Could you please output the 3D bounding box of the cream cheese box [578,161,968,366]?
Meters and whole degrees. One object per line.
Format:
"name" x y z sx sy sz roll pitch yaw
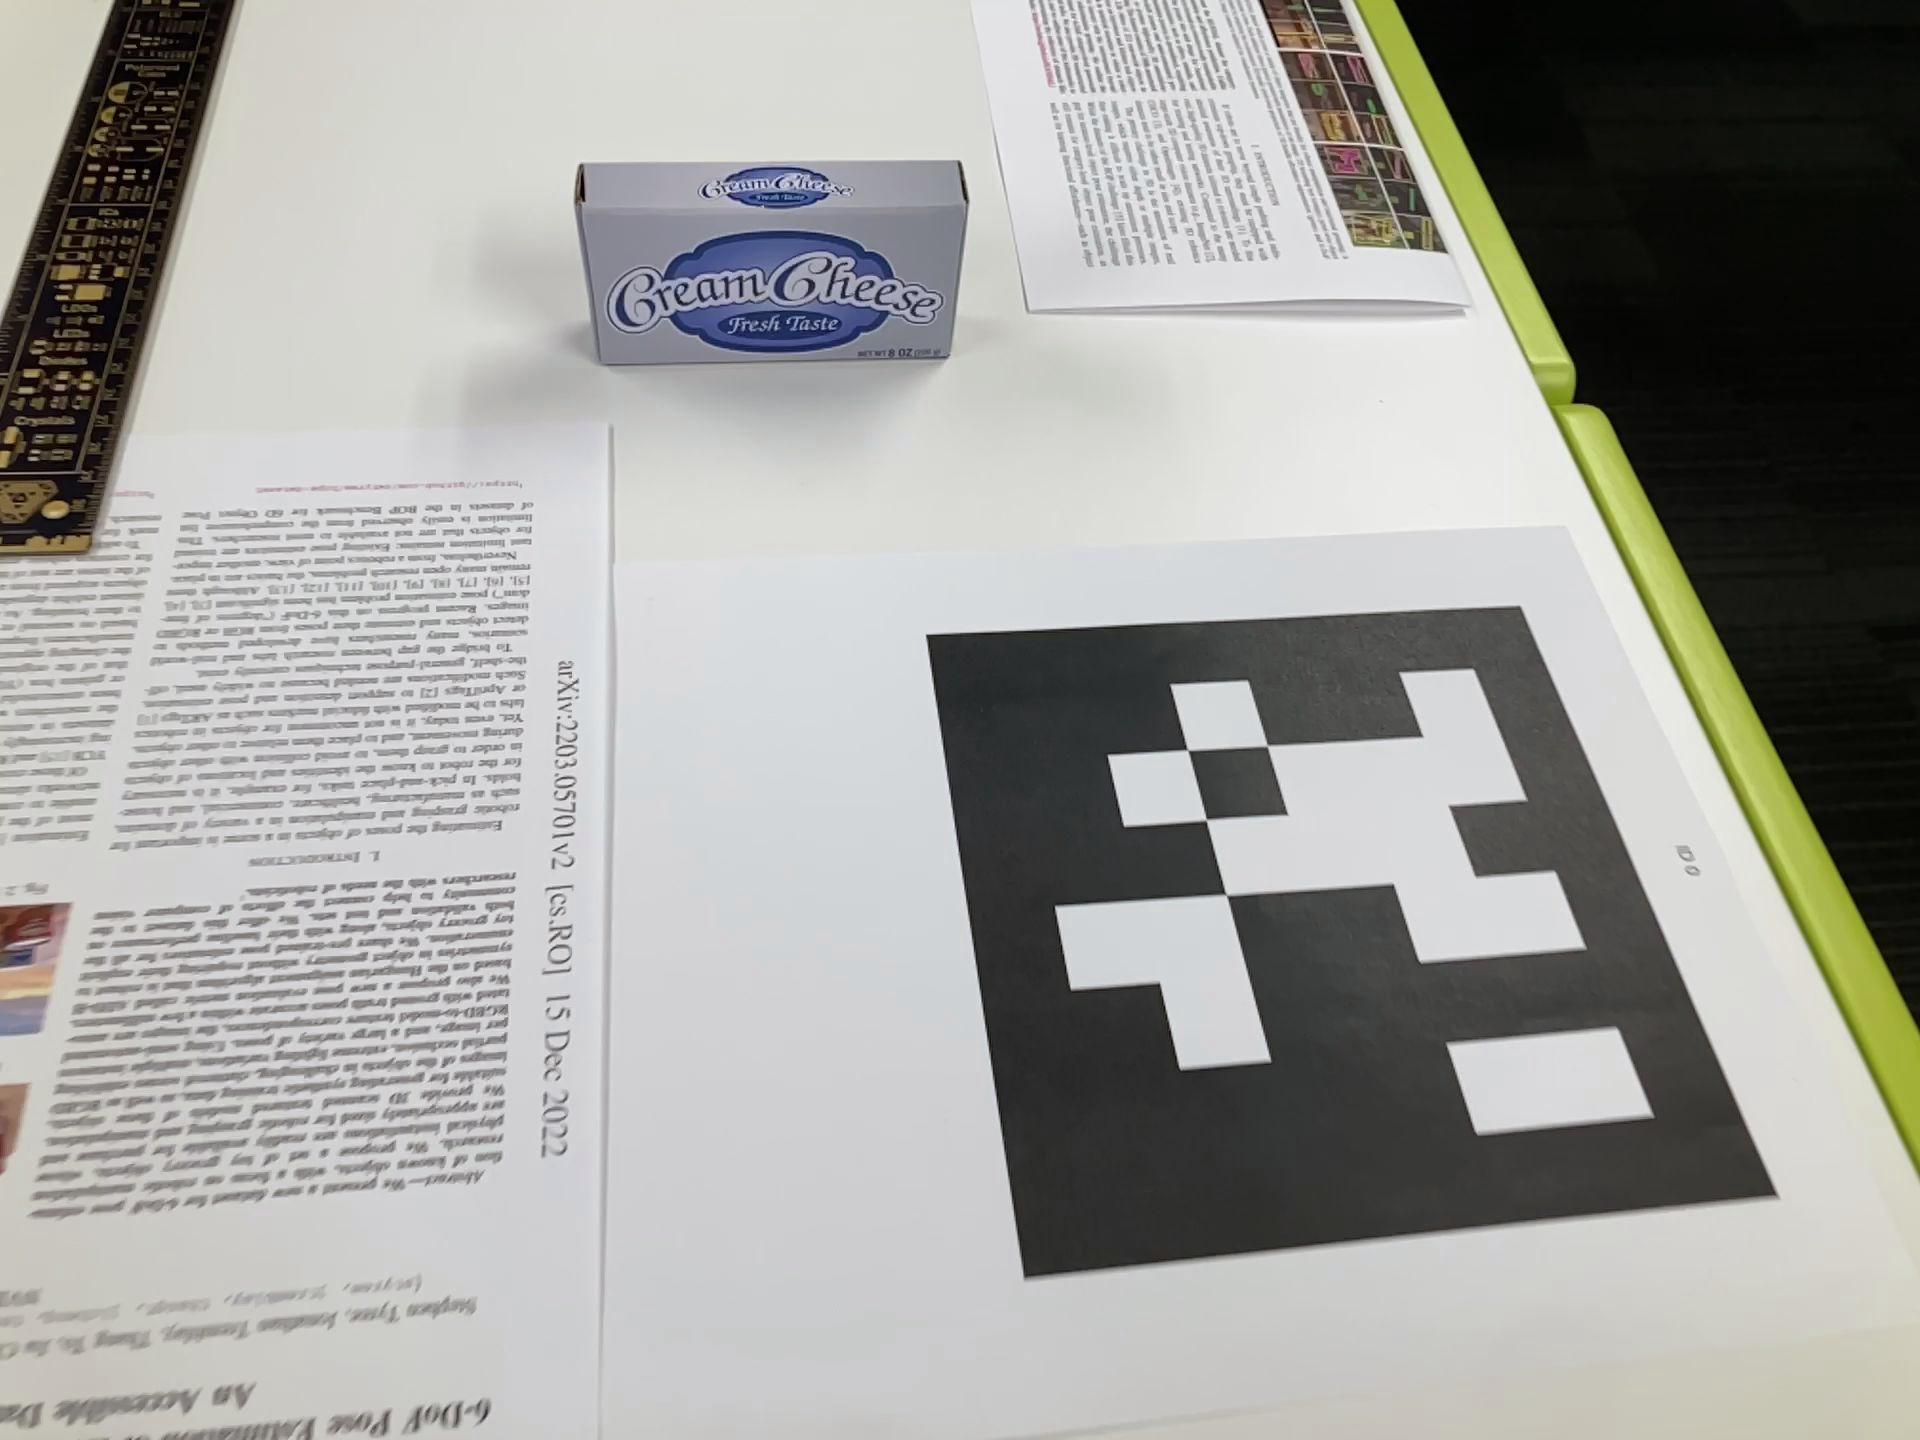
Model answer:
"cream cheese box" -0.052 -0.128 0.447 0.104 0.053 0.024 -3 53 -8
